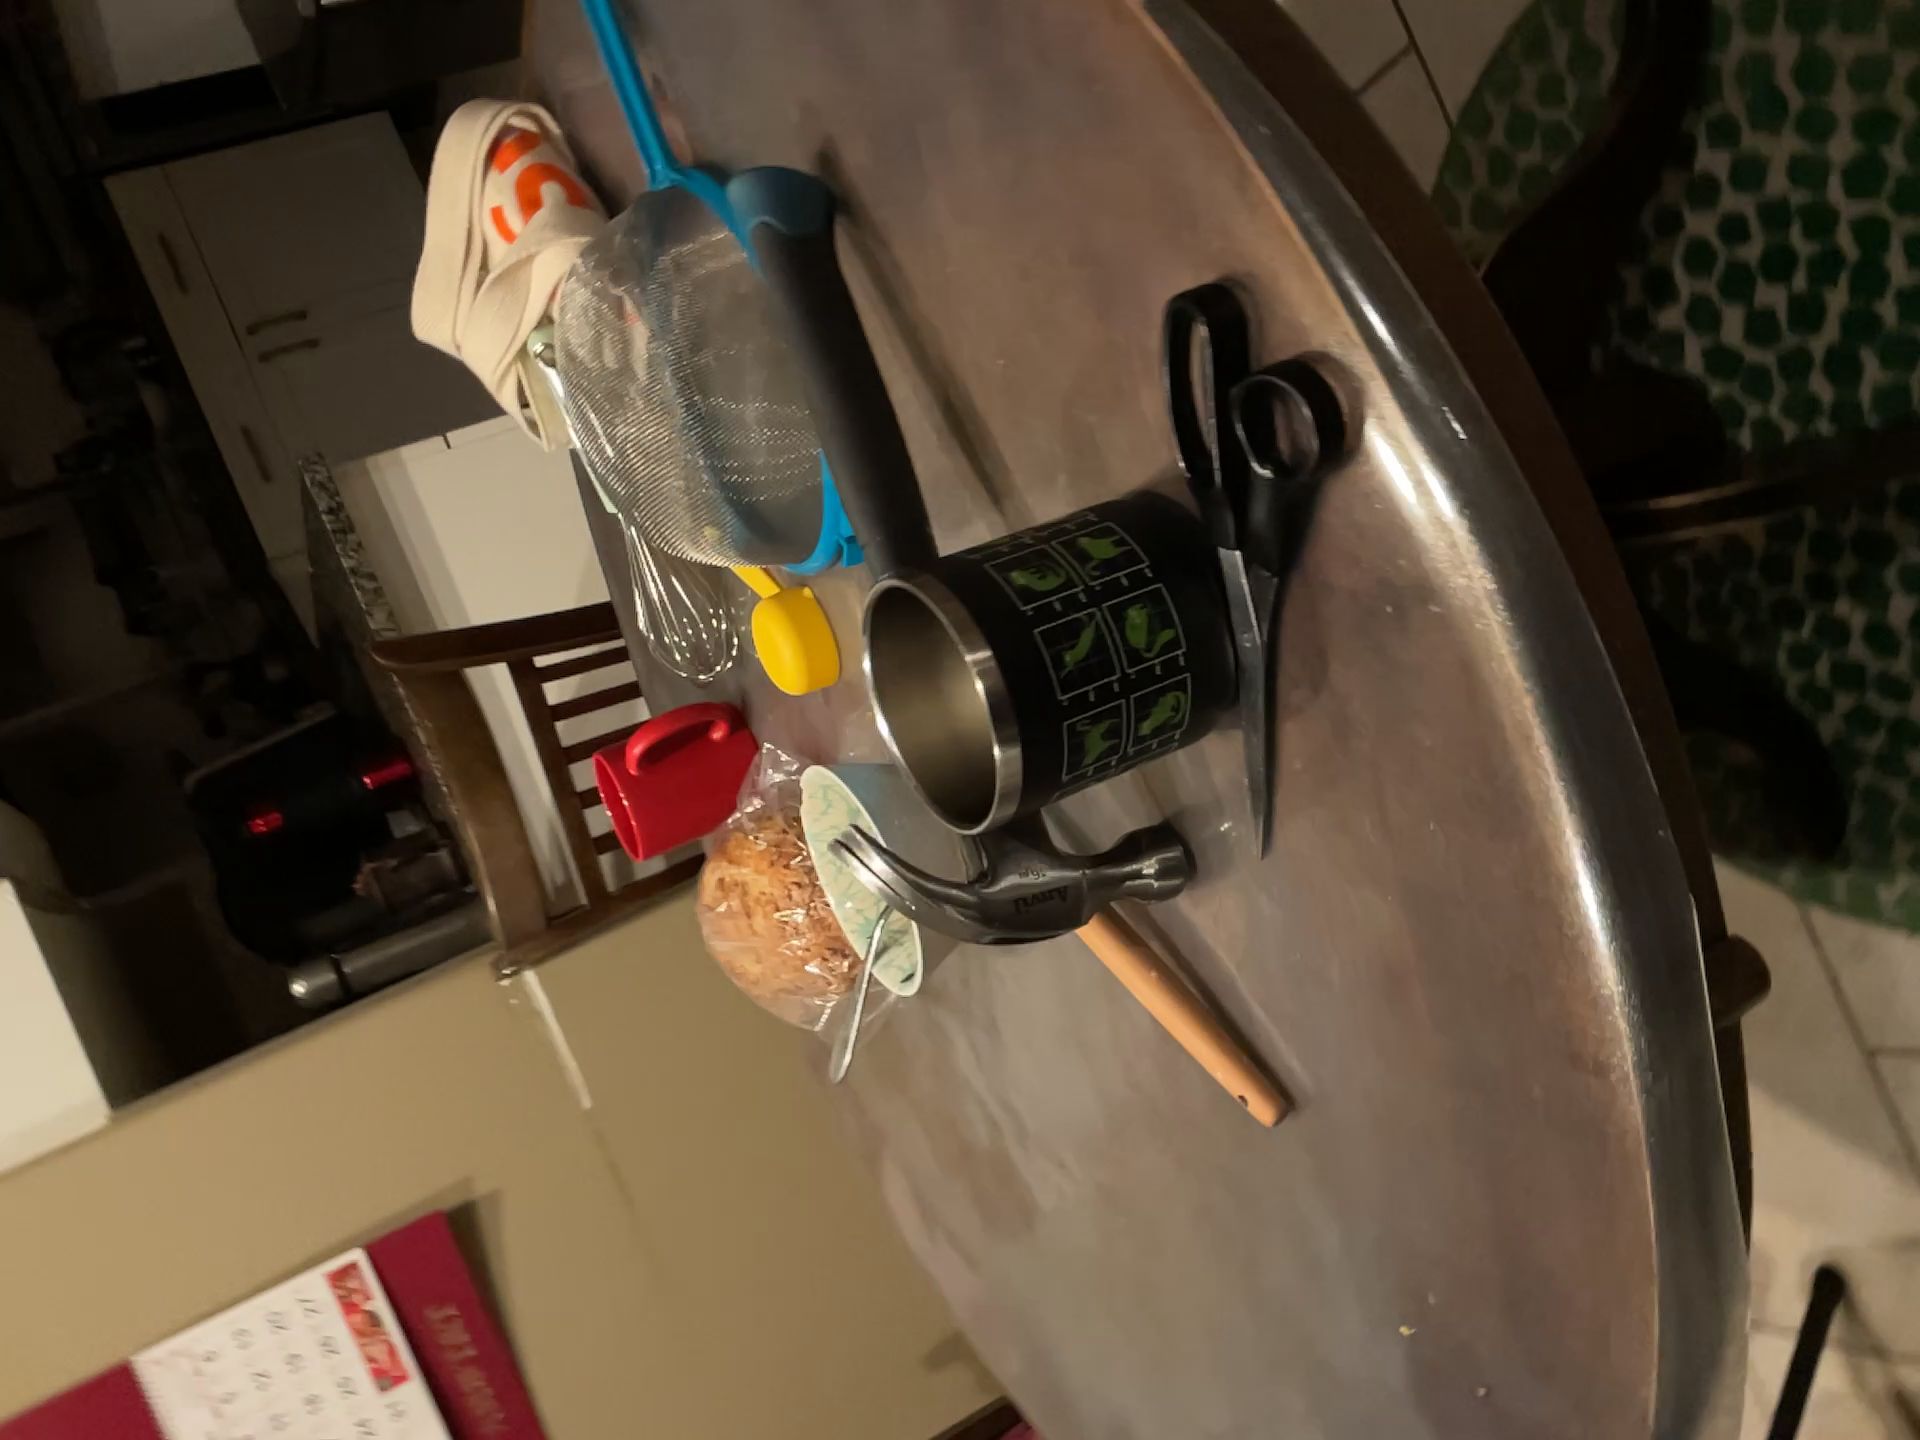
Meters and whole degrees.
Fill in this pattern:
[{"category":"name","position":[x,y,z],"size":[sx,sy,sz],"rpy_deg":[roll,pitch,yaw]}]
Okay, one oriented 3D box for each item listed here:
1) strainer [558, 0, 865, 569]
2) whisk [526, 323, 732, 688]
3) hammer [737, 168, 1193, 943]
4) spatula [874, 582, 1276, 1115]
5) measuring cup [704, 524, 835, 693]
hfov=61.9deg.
[{"category":"strainer","position":[-0.164,-0.217,0.791],"size":[0.211,0.095,0.340],"rpy_deg":[12,126,62]},{"category":"whisk","position":[-0.205,-0.127,0.984],"size":[0.059,0.058,0.246],"rpy_deg":[-92,-17,-62]},{"category":"hammer","position":[-0.021,-0.071,0.631],"size":[0.033,0.128,0.331],"rpy_deg":[-44,62,63]},{"category":"spatula","position":[0.034,0.044,0.704],"size":[0.318,0.044,0.082],"rpy_deg":[47,150,29]},{"category":"measuring cup","position":[-0.121,-0.069,0.917],"size":[0.157,0.029,0.062],"rpy_deg":[44,148,39]}]
